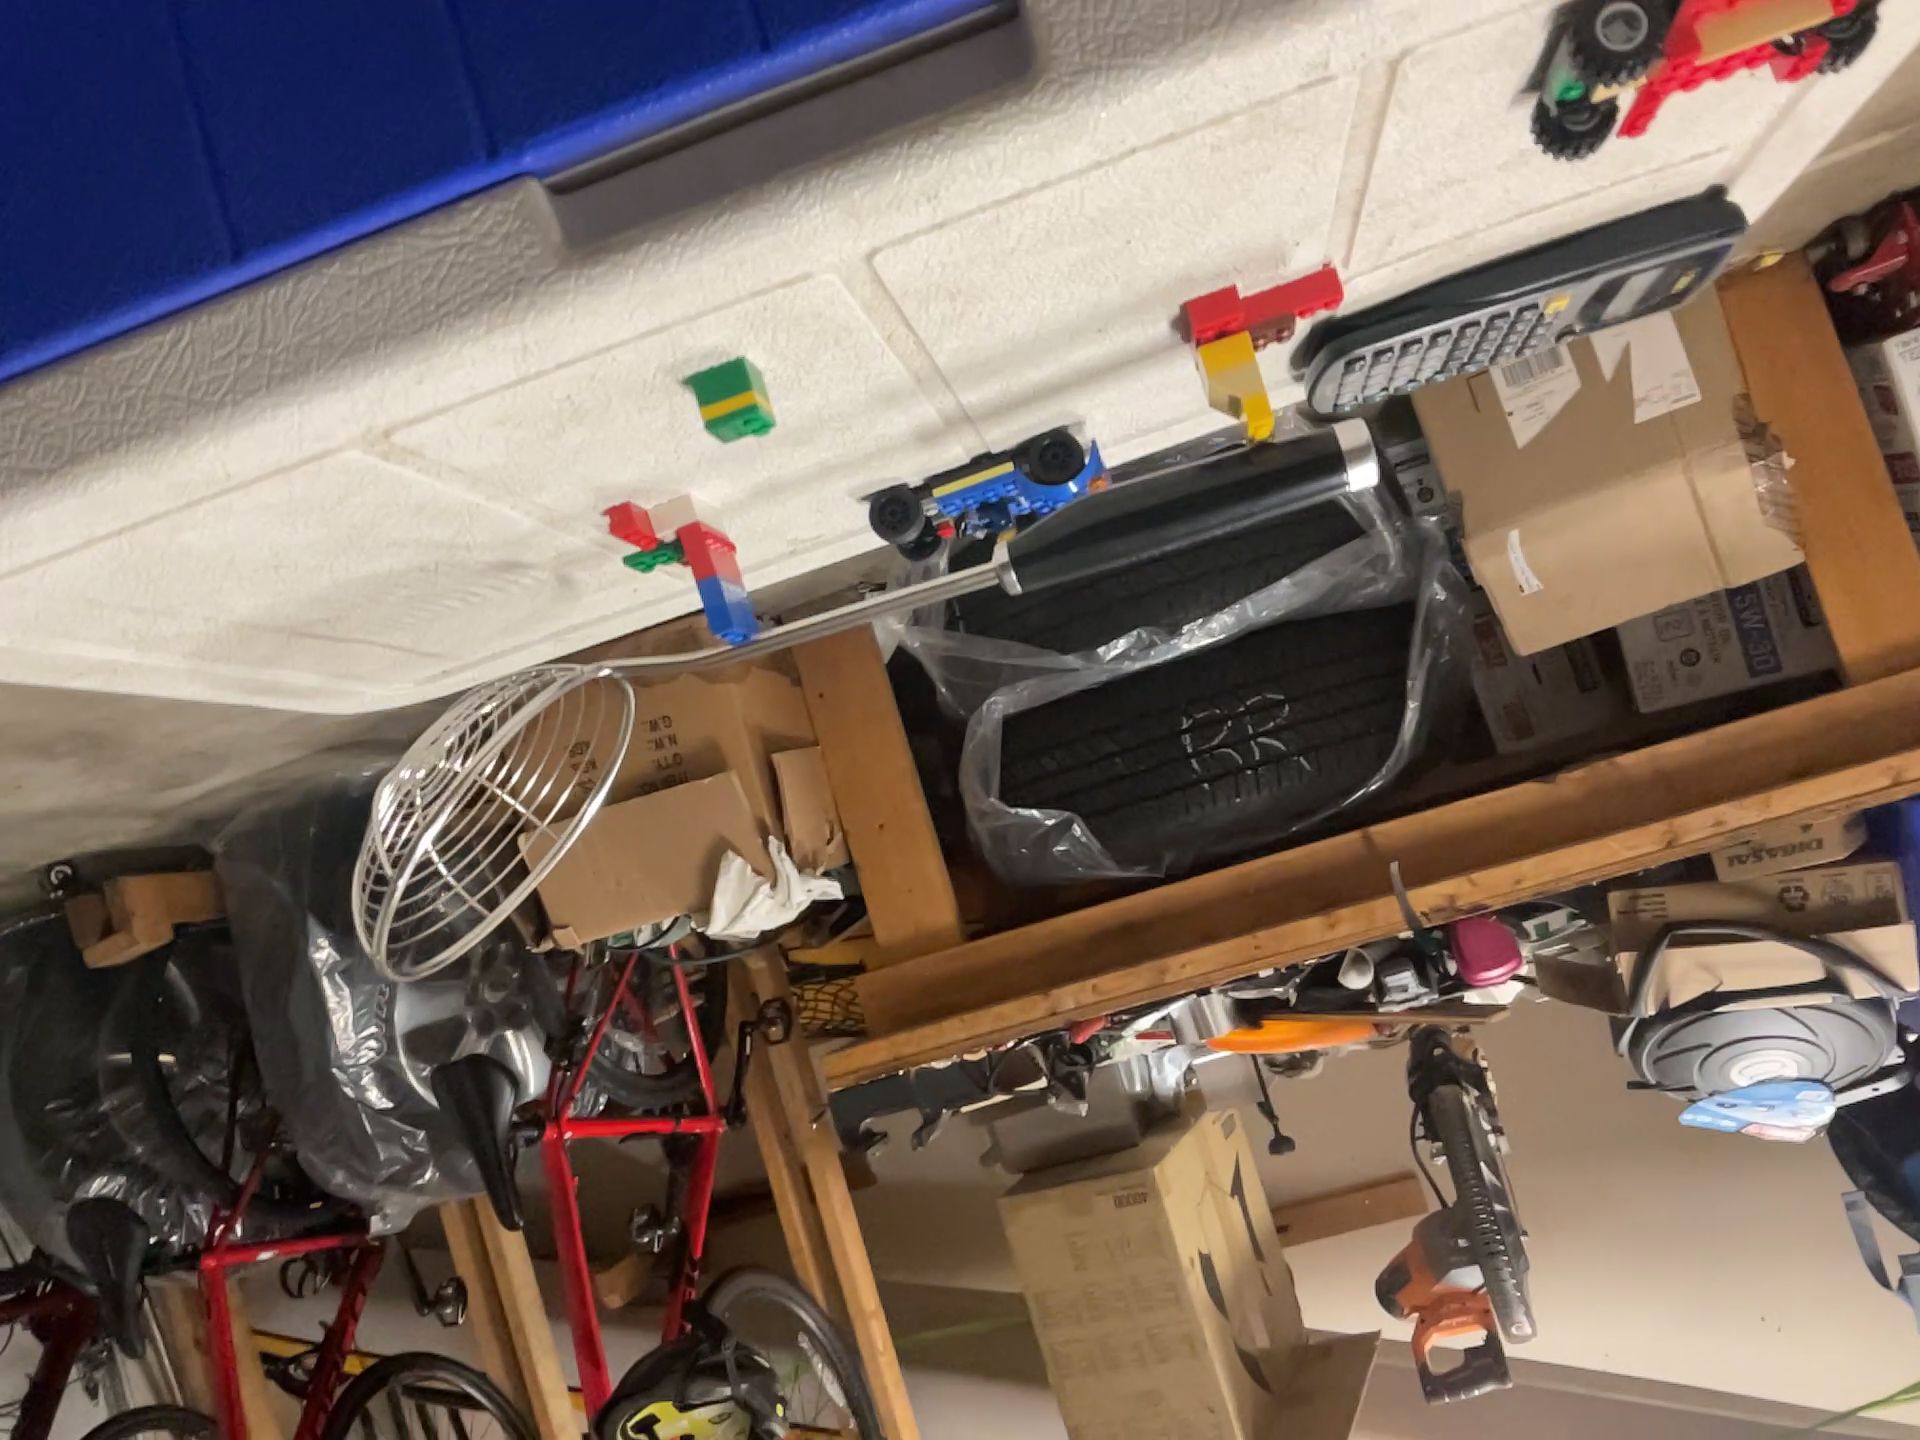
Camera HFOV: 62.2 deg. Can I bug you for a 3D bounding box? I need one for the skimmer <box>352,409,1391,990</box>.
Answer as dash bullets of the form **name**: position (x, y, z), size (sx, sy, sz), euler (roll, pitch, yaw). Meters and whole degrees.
- **skimmer**: position (-0.031, -0.005, 0.522), size (0.363, 0.090, 0.127), euler (-18, 176, 9)
